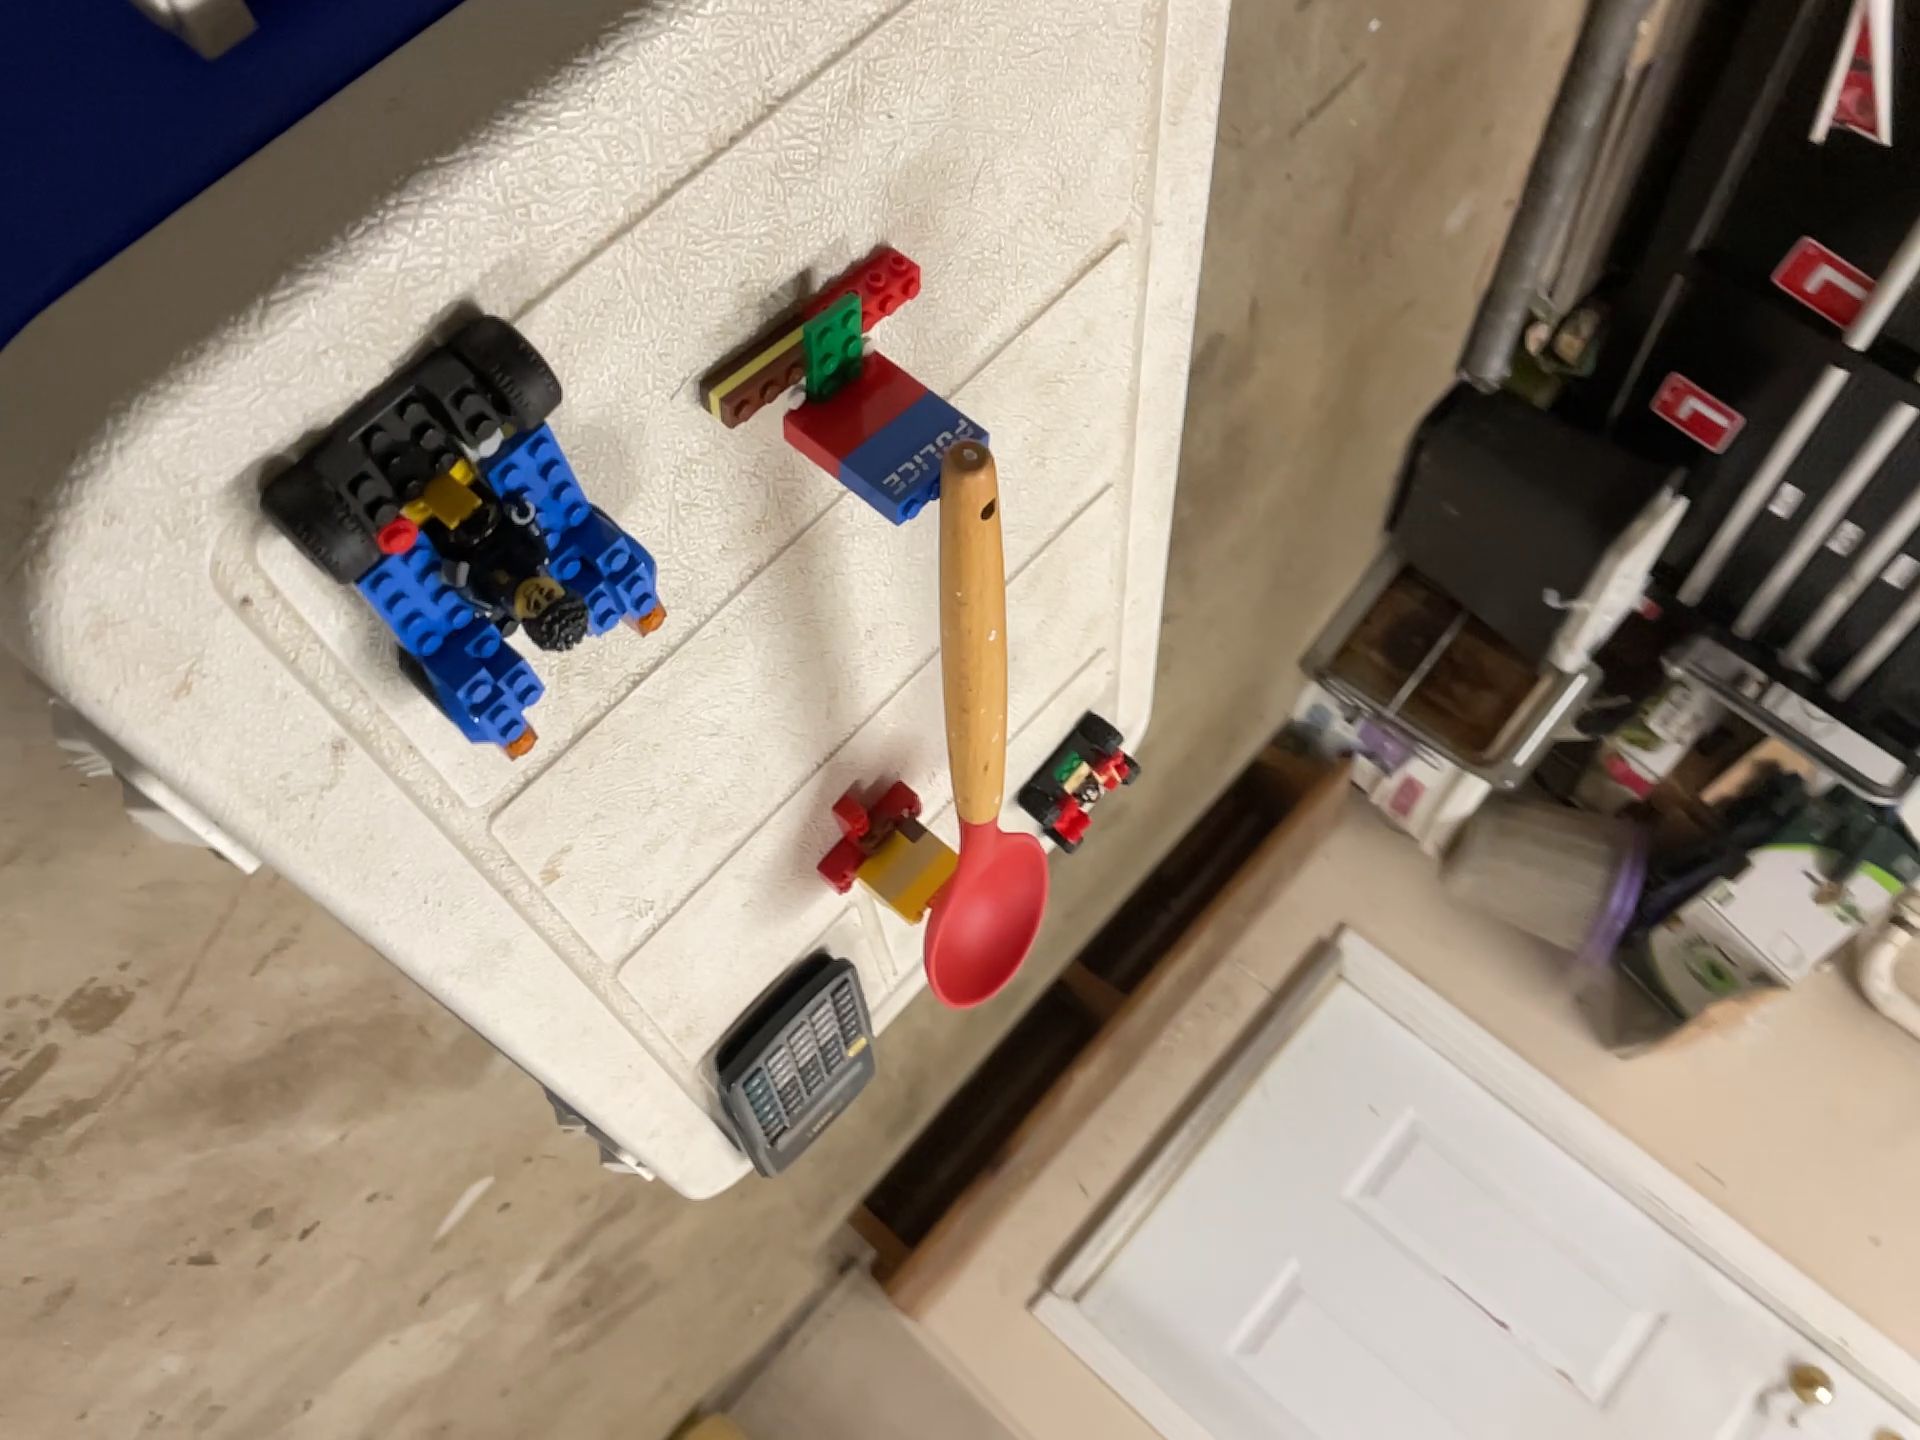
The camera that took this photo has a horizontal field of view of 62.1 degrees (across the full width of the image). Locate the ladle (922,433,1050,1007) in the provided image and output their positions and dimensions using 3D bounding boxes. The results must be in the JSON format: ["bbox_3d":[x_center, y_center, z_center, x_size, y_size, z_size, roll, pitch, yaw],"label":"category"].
[{"bbox_3d":[0.005,0.016,0.495,0.069,0.031,0.315,-49,161,-22],"label":"ladle"}]
